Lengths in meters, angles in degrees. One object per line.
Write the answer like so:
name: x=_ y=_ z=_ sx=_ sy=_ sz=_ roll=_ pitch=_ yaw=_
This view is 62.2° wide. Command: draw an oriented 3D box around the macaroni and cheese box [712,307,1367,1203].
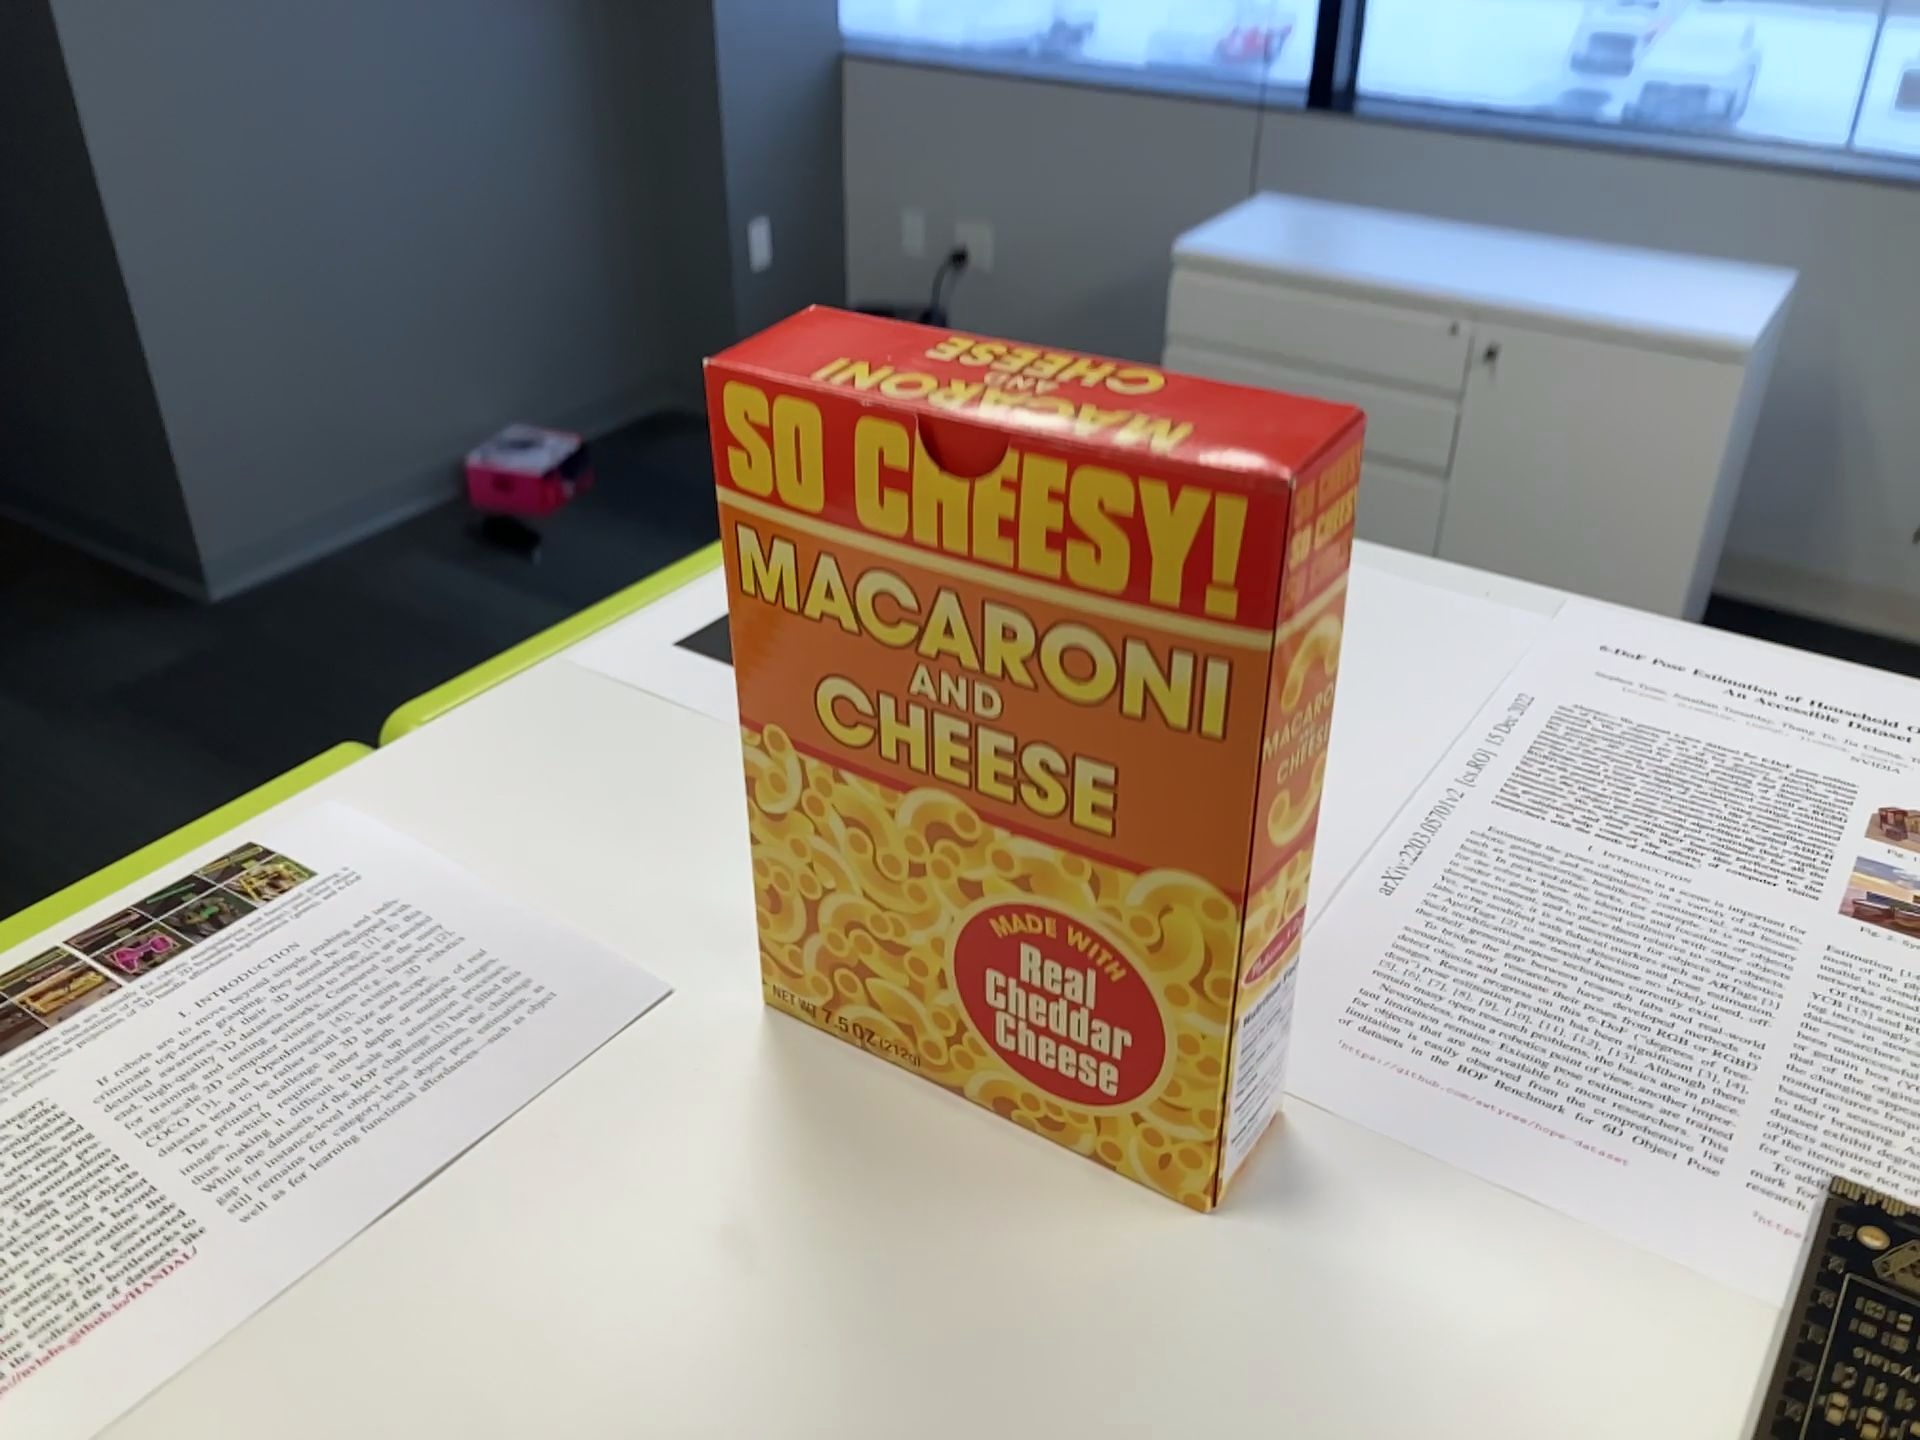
macaroni and cheese box: x=0.012 y=0.008 z=0.336 sx=0.124 sy=0.166 sz=0.040 roll=17 pitch=35 yaw=27
